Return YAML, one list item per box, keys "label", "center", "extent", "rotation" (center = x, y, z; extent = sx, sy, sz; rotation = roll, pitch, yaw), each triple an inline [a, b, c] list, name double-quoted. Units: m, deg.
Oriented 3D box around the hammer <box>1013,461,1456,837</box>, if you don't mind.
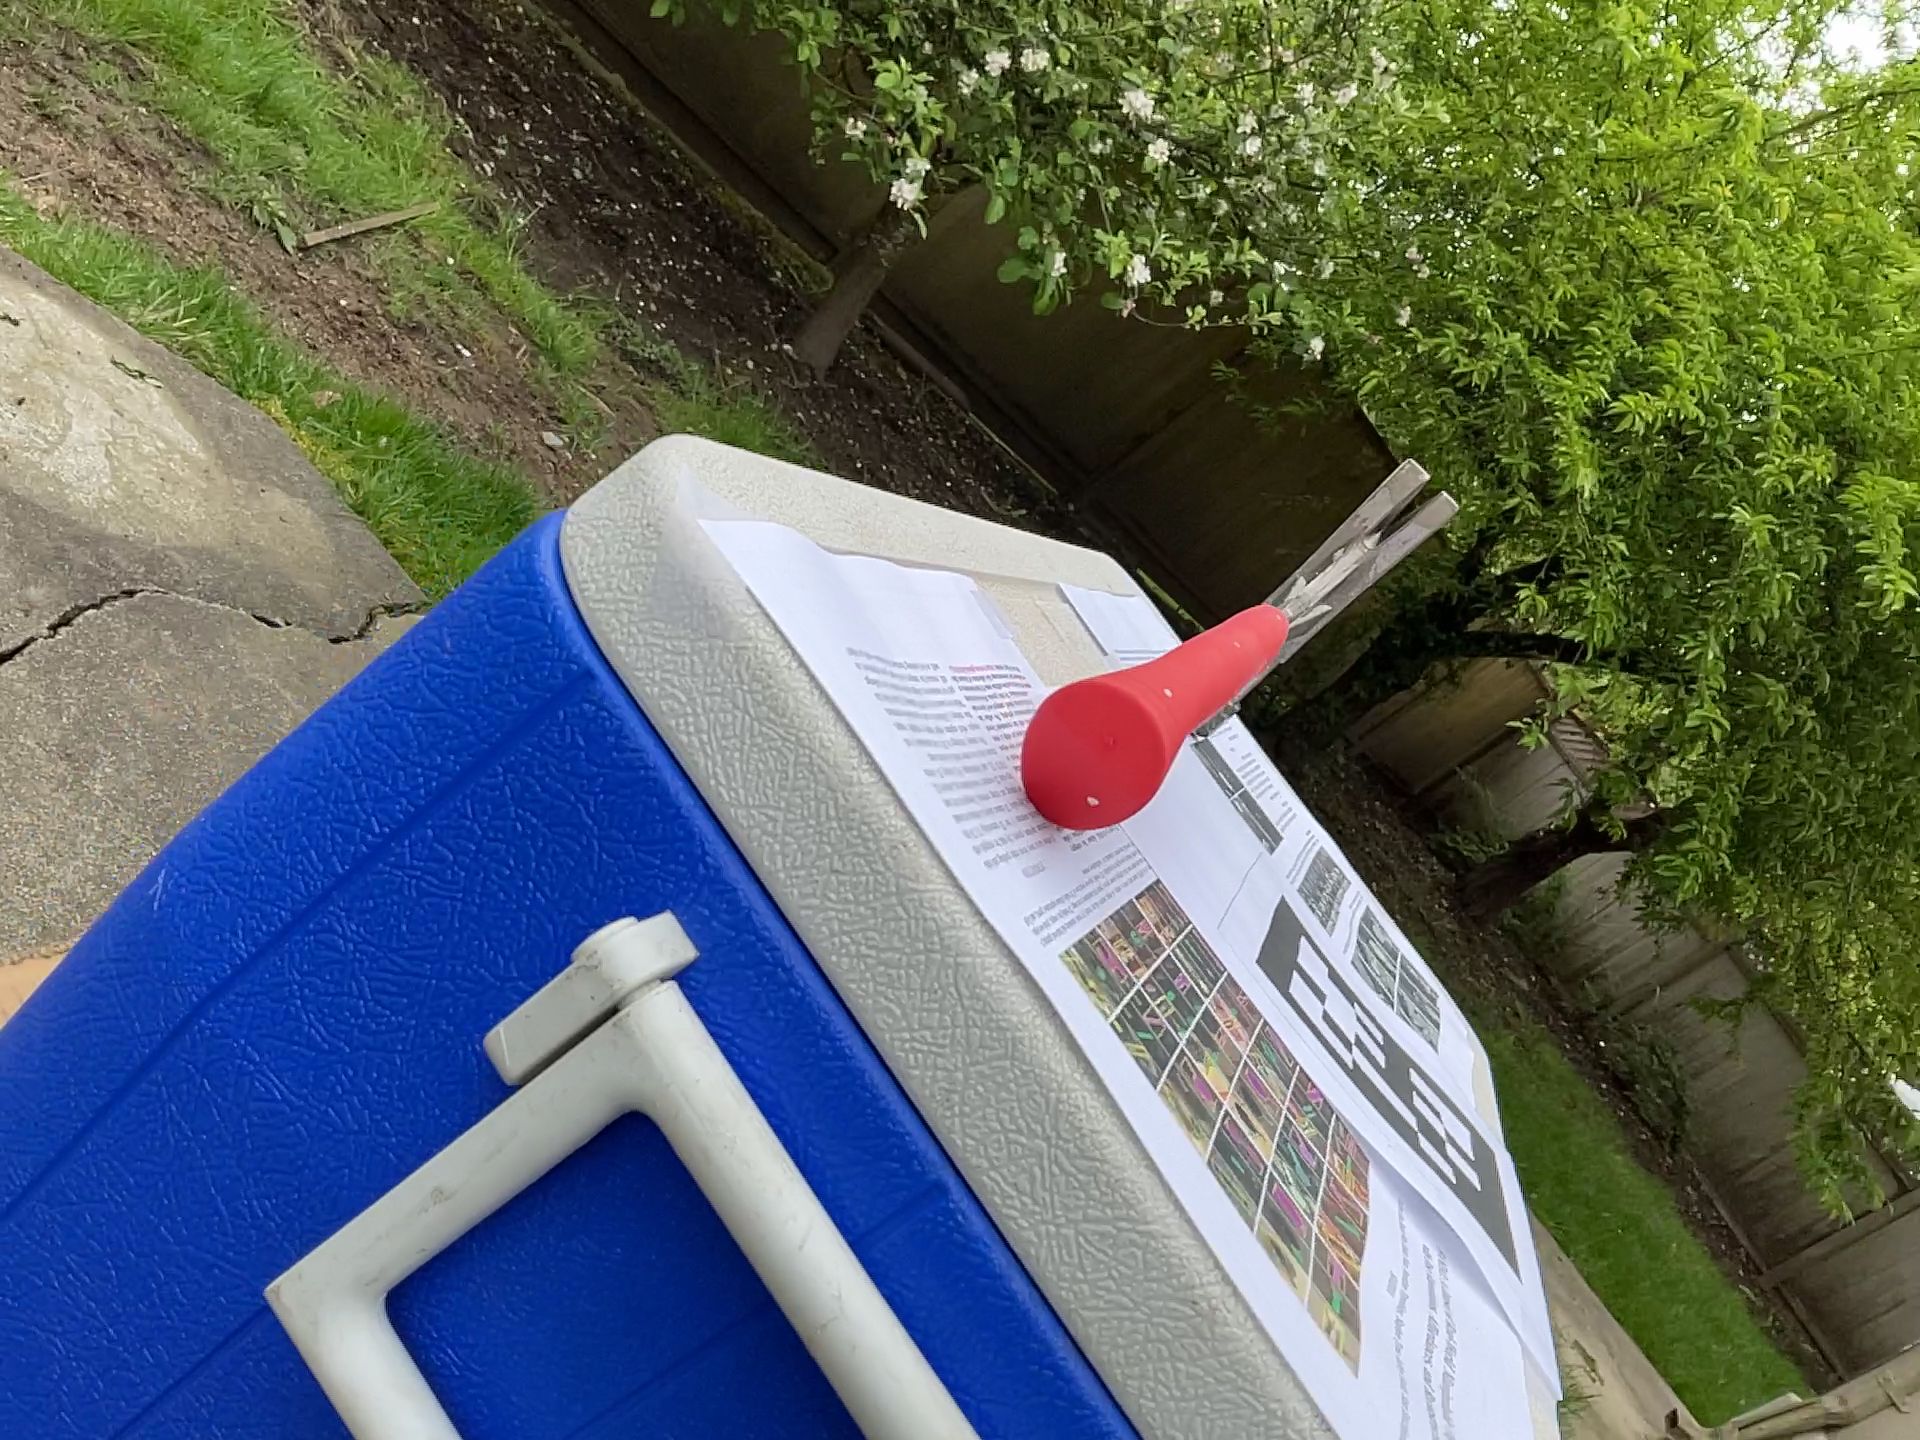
- label: "hammer"
  center: [0.097, -0.026, 0.548]
  extent: [0.037, 0.149, 0.359]
  rotation: [48, 20, 7]
